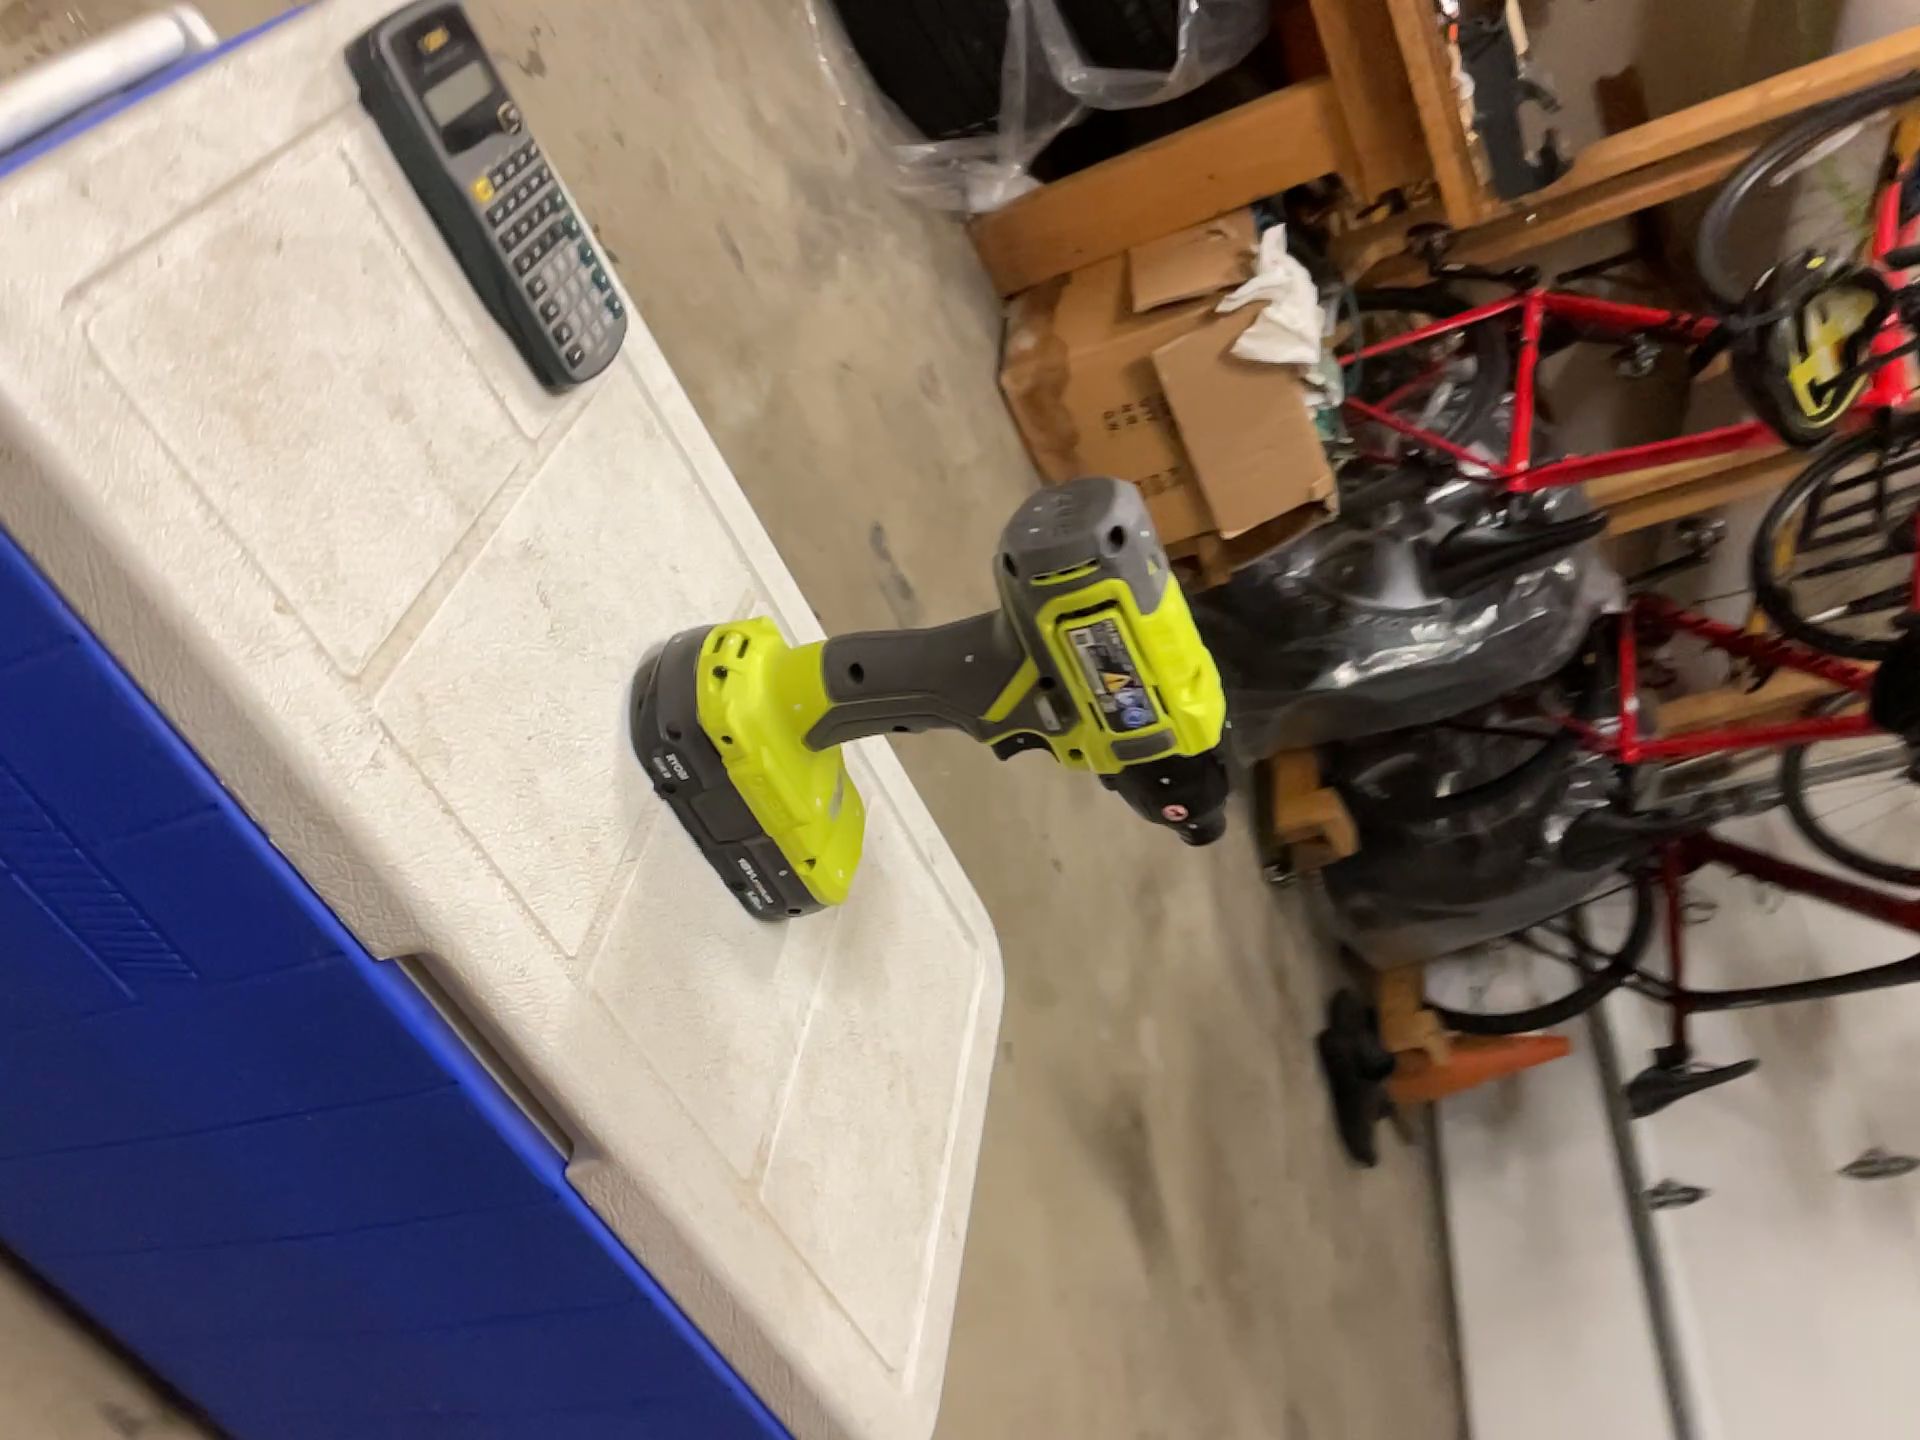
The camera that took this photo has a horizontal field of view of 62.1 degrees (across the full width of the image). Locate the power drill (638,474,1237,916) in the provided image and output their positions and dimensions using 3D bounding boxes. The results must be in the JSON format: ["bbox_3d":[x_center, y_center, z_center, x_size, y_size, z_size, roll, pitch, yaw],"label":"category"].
[{"bbox_3d":[-0.004,0.005,0.669,0.080,0.223,0.171,-78,147,-50],"label":"power drill"}]
